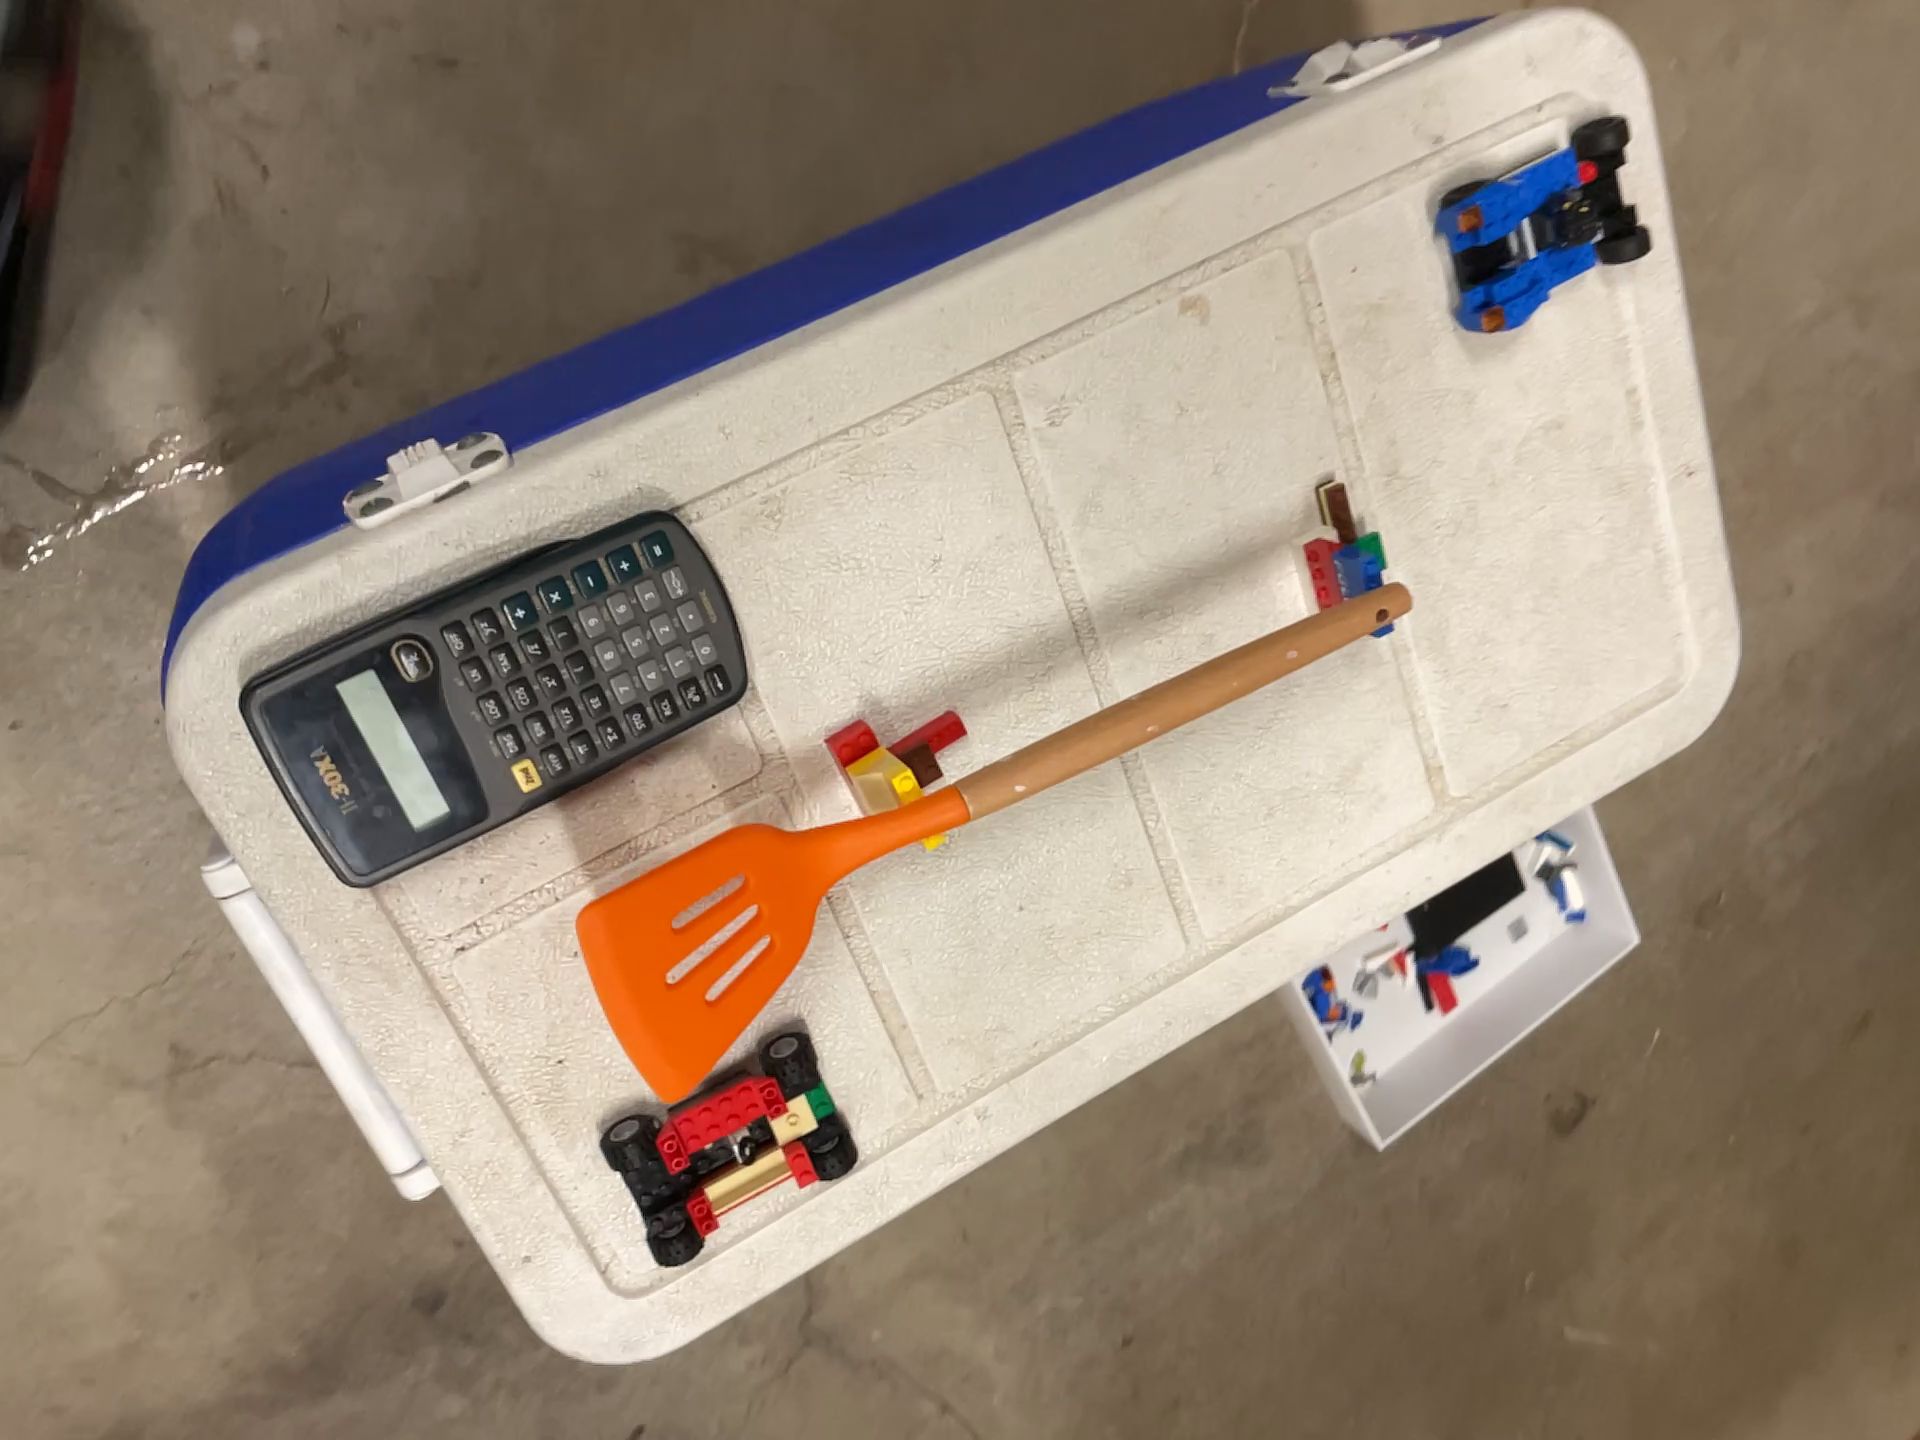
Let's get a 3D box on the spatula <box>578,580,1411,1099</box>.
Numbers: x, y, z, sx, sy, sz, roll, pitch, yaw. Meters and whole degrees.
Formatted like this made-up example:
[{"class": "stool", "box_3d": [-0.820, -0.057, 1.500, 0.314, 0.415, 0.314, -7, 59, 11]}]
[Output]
[{"class": "spatula", "box_3d": [0.026, 0.022, 0.554, 0.323, 0.041, 0.080, -25, 117, -13]}]
